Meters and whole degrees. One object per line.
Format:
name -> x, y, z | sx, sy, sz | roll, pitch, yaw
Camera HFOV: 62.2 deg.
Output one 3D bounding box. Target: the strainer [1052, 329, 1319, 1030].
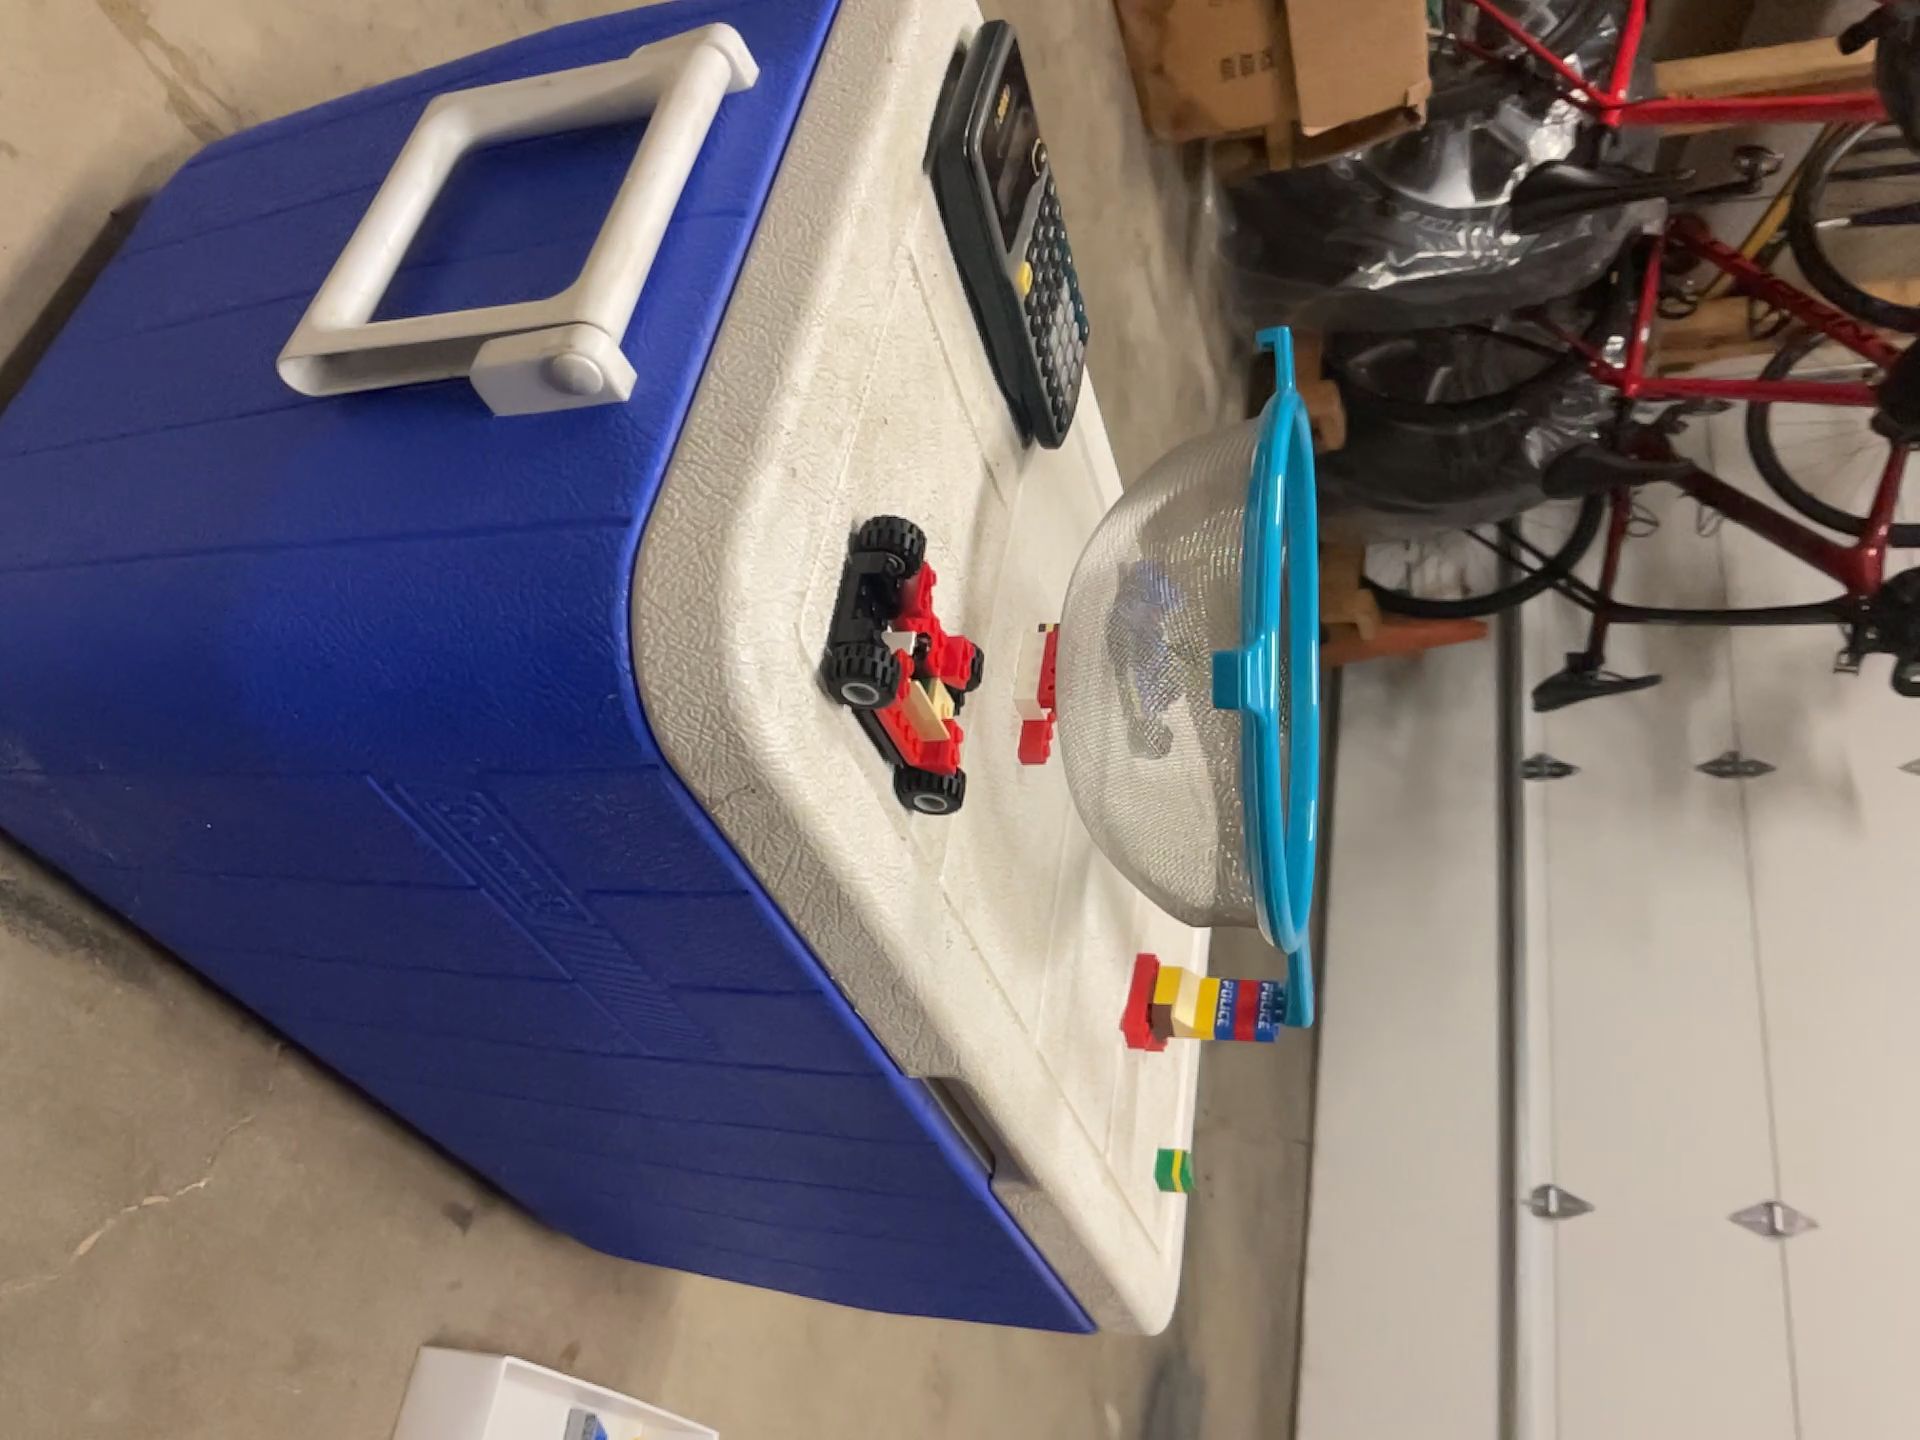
strainer -> 0.097, 0.026, 0.659 | 0.339, 0.095, 0.211 | 76, 21, -45
